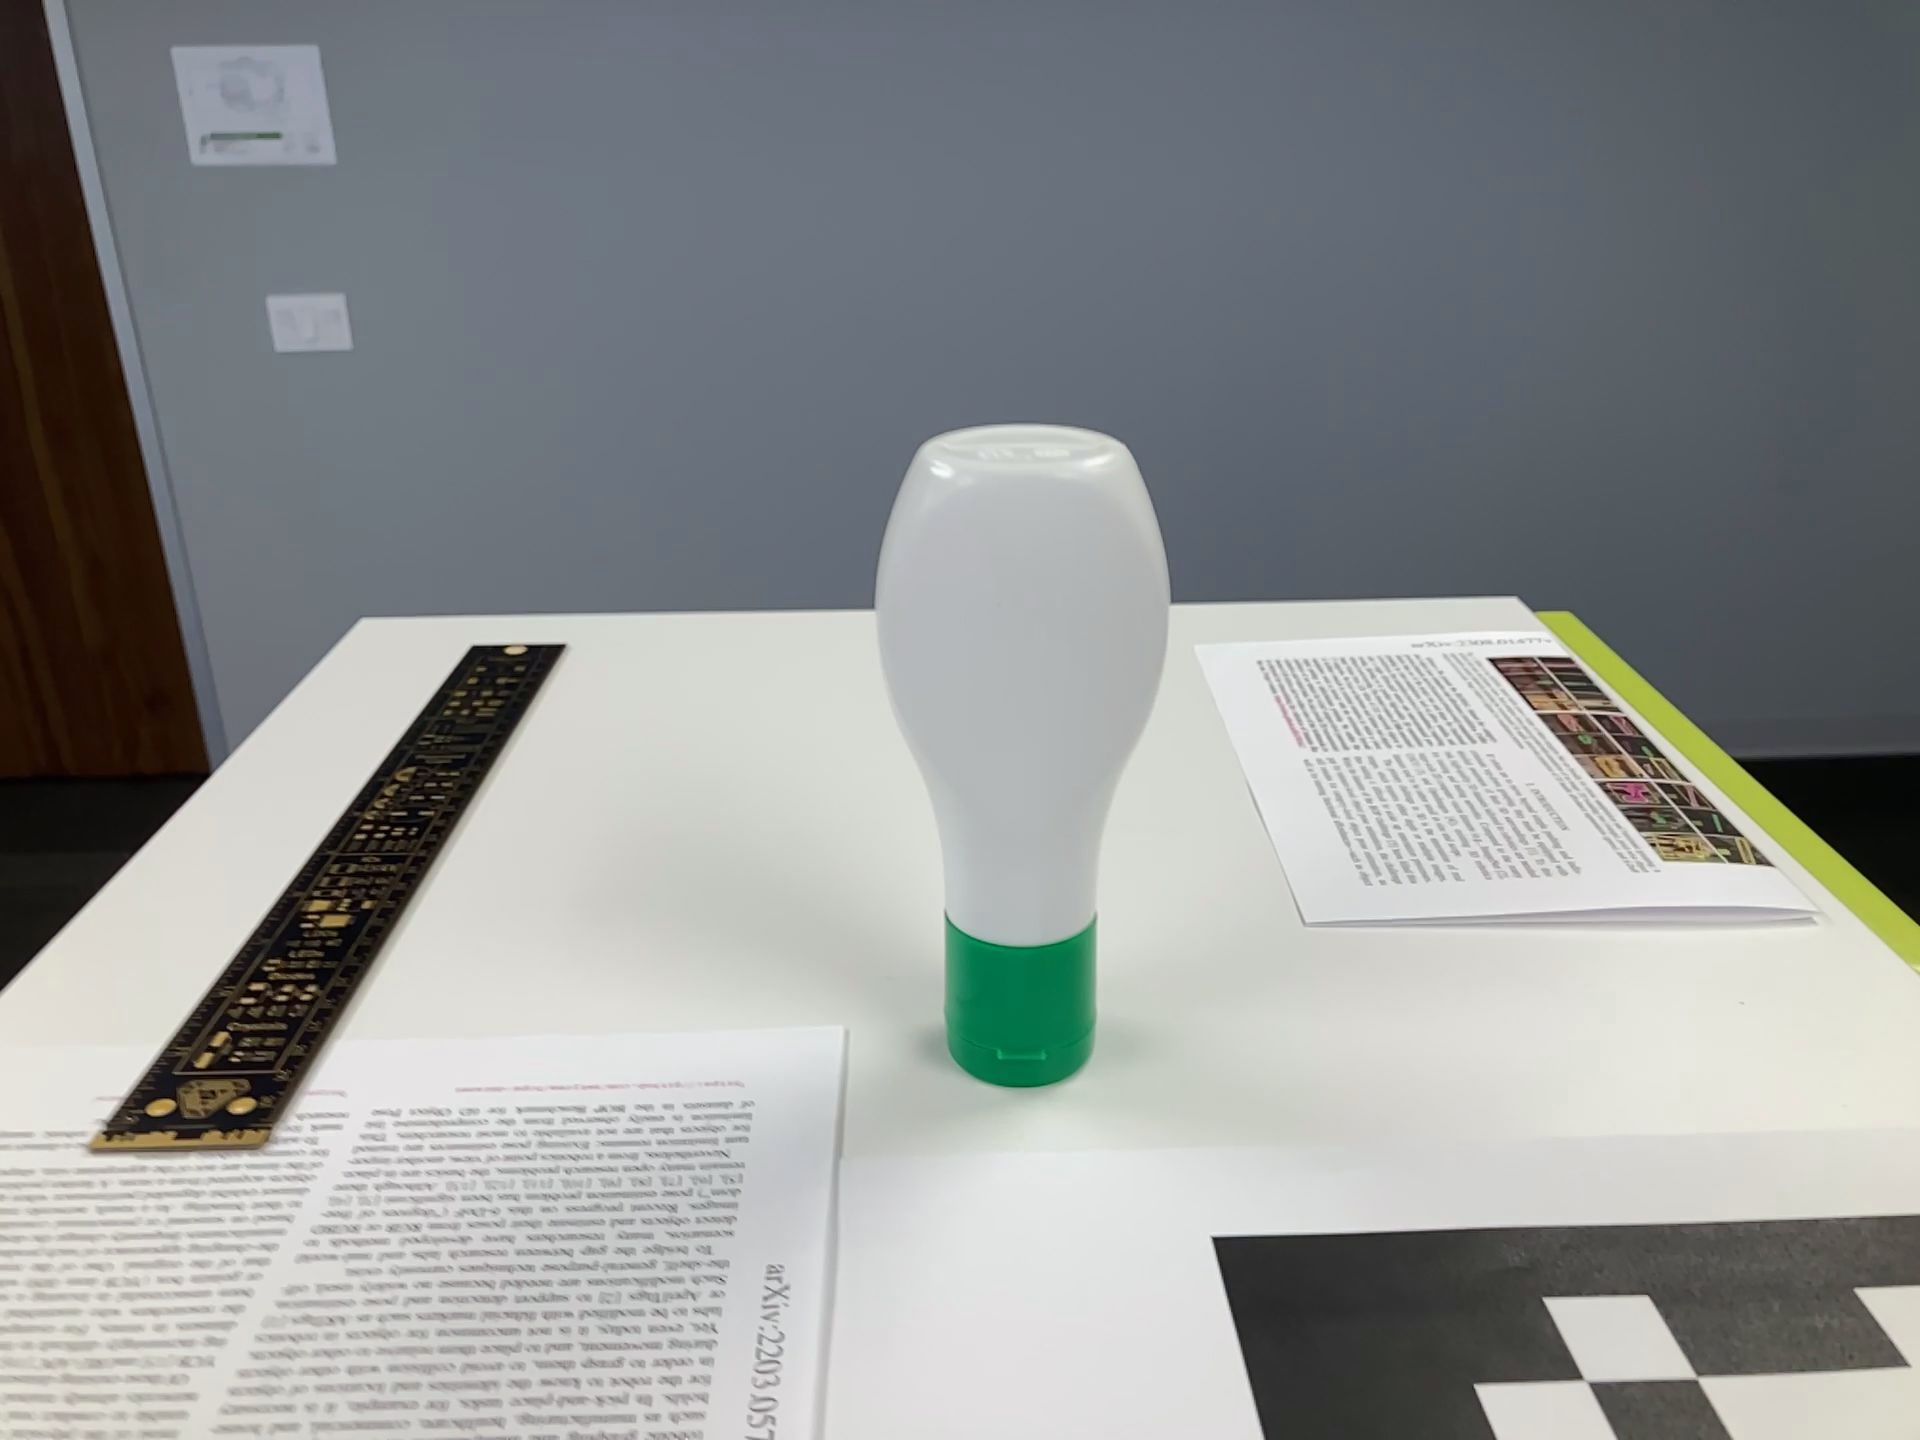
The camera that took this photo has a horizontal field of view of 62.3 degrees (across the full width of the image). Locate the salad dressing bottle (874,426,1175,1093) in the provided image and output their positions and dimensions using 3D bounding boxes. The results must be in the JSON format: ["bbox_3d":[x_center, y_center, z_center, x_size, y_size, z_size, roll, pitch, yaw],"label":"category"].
[{"bbox_3d":[0.014,0.011,0.354,0.064,0.147,0.044,0,22,1],"label":"salad dressing bottle"}]
